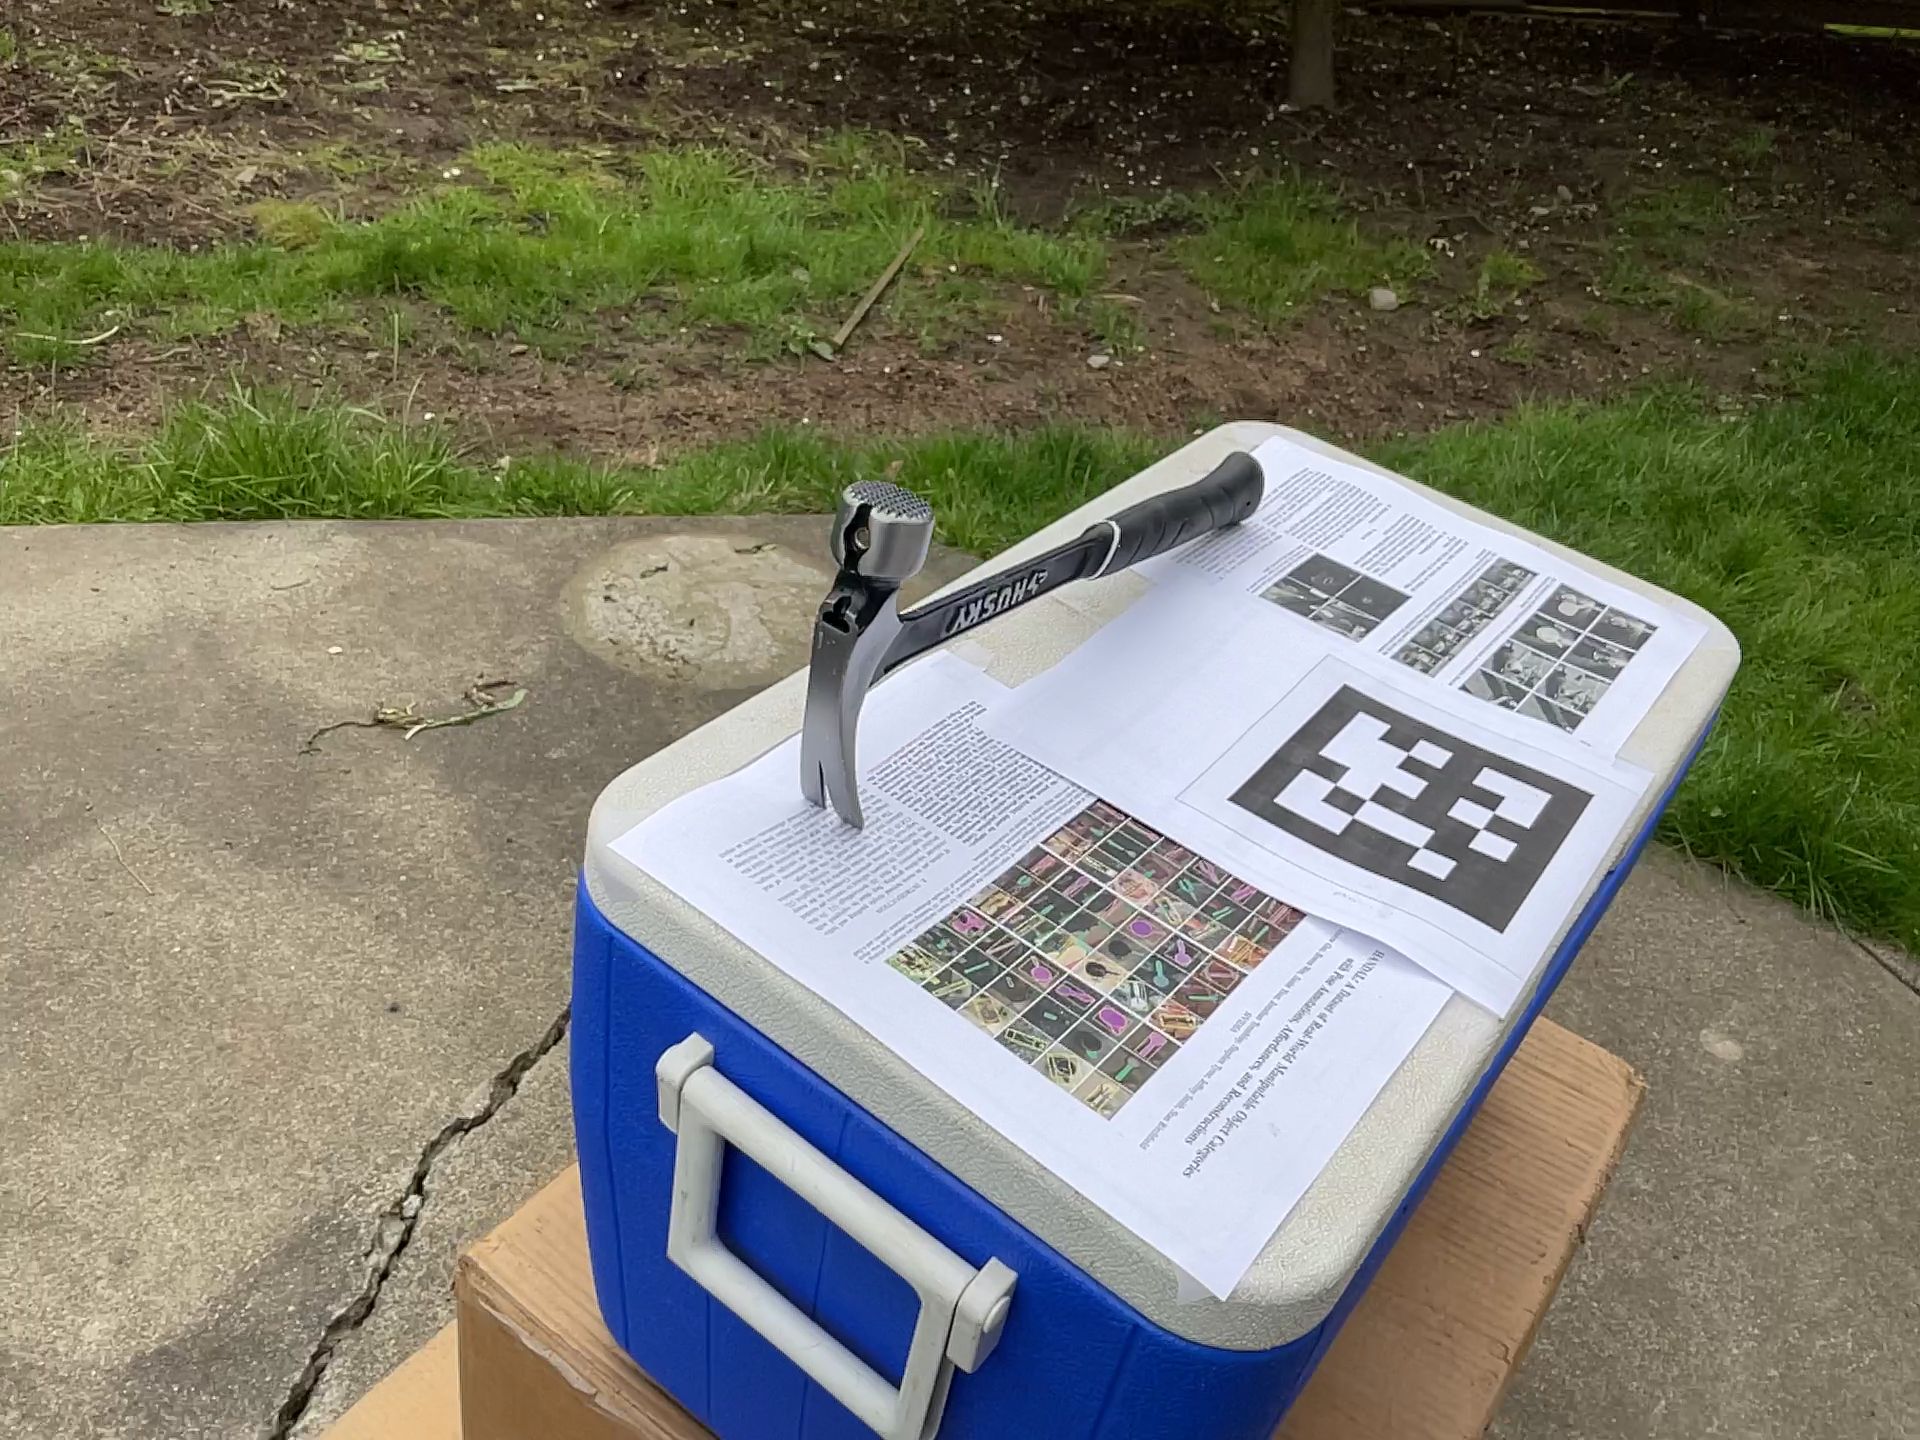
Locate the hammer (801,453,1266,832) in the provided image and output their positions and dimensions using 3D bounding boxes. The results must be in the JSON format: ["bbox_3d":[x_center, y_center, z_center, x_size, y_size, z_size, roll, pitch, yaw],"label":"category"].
[{"bbox_3d":[0.056,-0.071,0.766,0.036,0.149,0.409,29,30,23],"label":"hammer"}]
